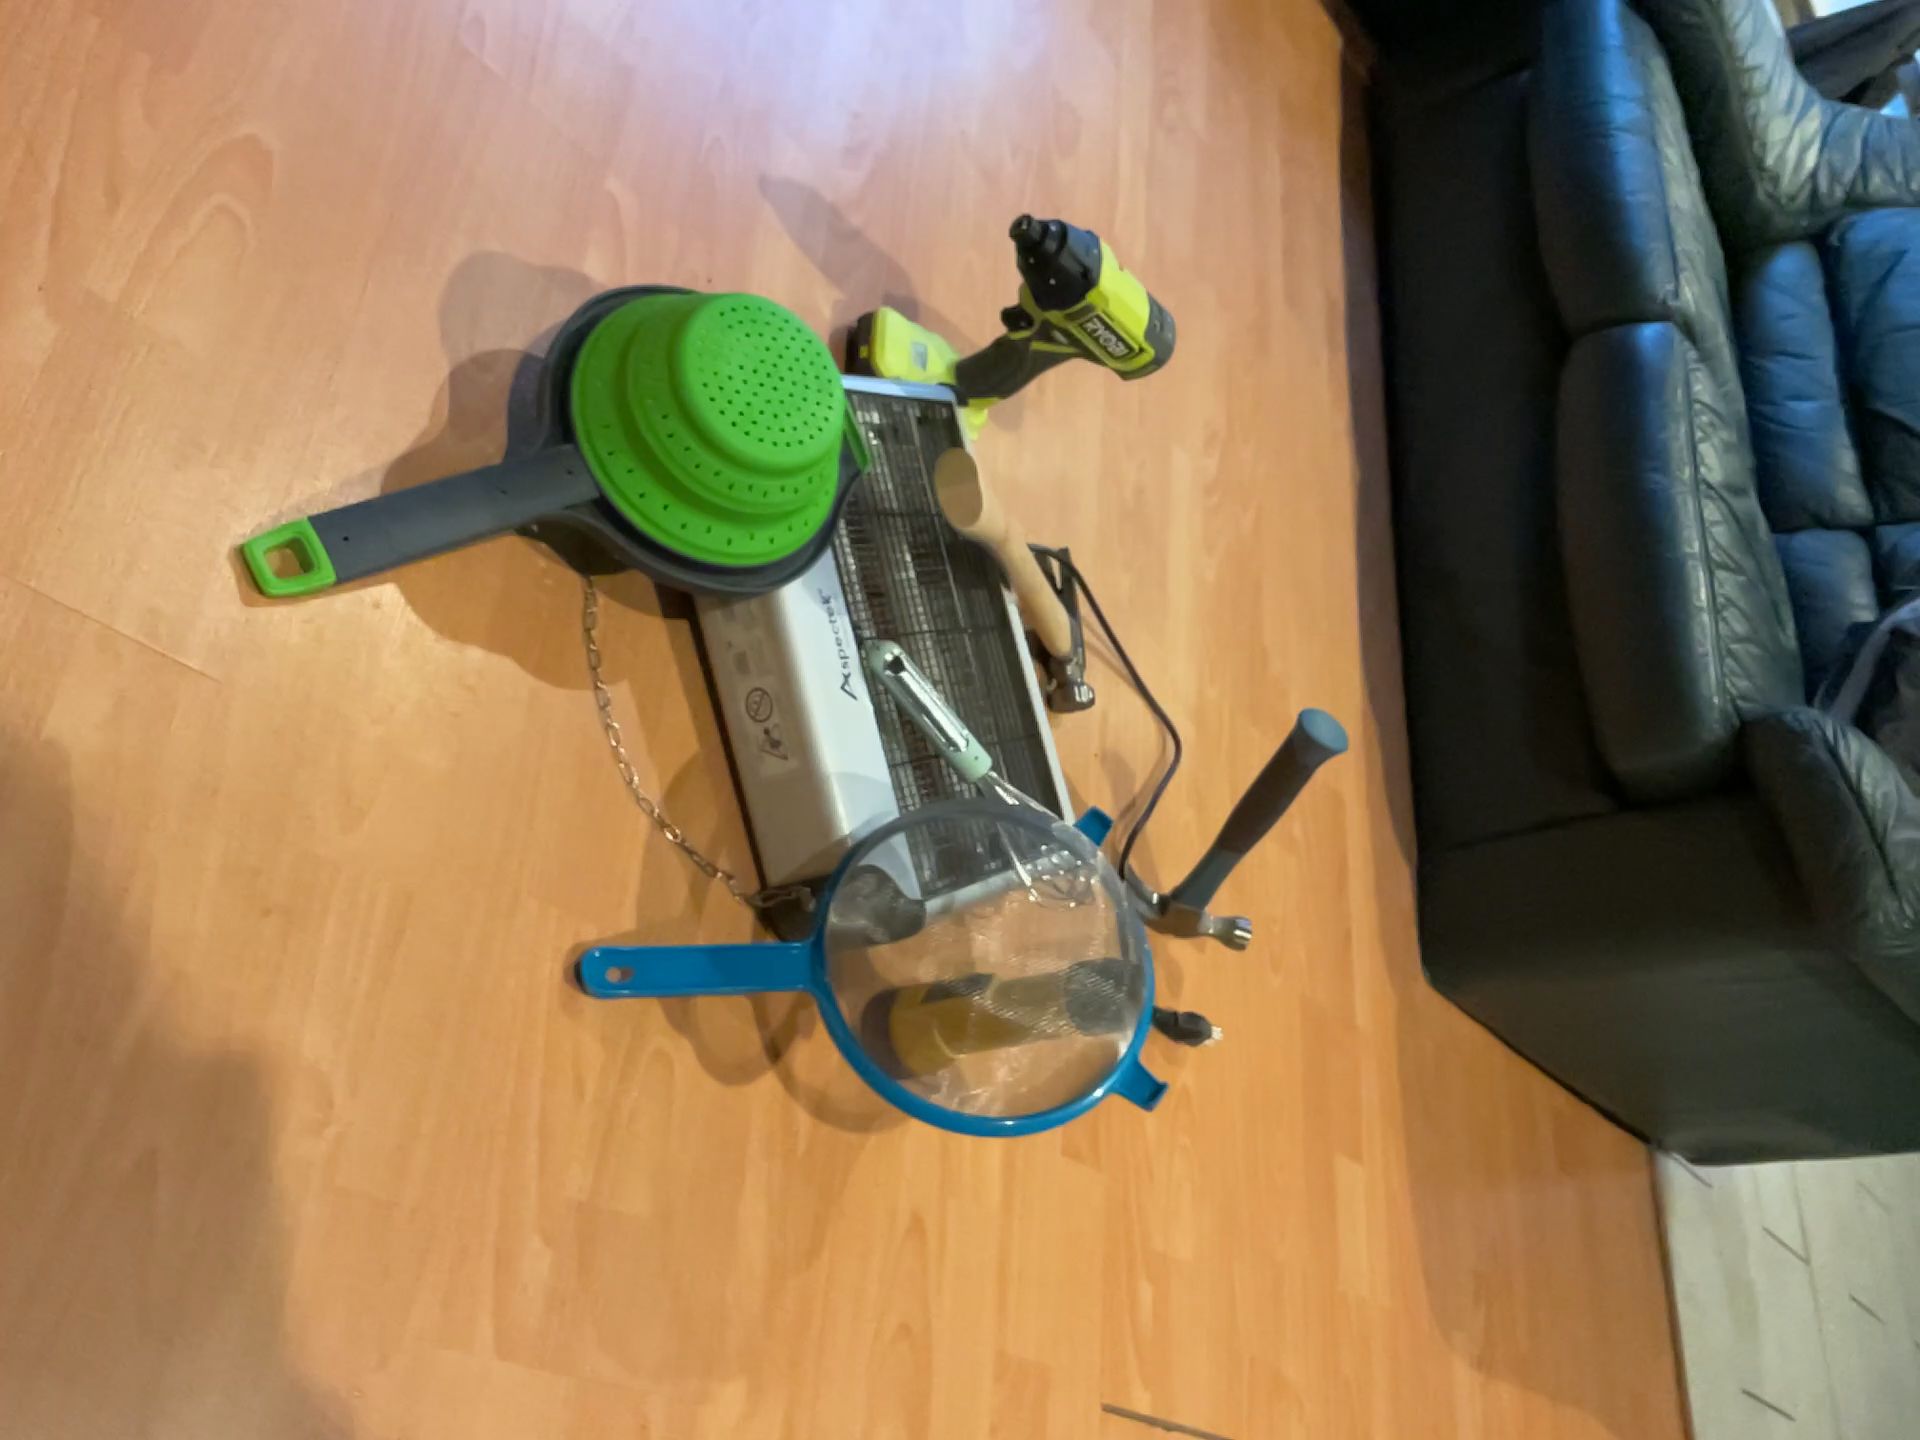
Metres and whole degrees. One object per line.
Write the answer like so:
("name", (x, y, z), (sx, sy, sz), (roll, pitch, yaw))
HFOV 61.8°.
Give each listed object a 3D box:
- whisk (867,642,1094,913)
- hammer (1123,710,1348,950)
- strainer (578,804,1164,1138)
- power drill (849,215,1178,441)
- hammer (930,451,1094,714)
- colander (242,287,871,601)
("whisk", (0.016, 0.041, 1.079), (0.058, 0.059, 0.246), (-48, 115, -19))
("hammer", (0.225, 0.092, 1.280), (0.128, 0.330, 0.033), (15, 55, -6))
("strainer", (-0.039, 0.124, 0.908), (0.340, 0.095, 0.211), (1, 59, -17))
("power drill", (0.030, -0.295, 1.229), (0.171, 0.223, 0.080), (30, 52, -44))
("hammer", (0.043, -0.120, 1.201), (0.410, 0.038, 0.146), (43, 39, -71))
("colander", (-0.193, -0.152, 0.893), (0.397, 0.094, 0.204), (-26, 90, -39))
